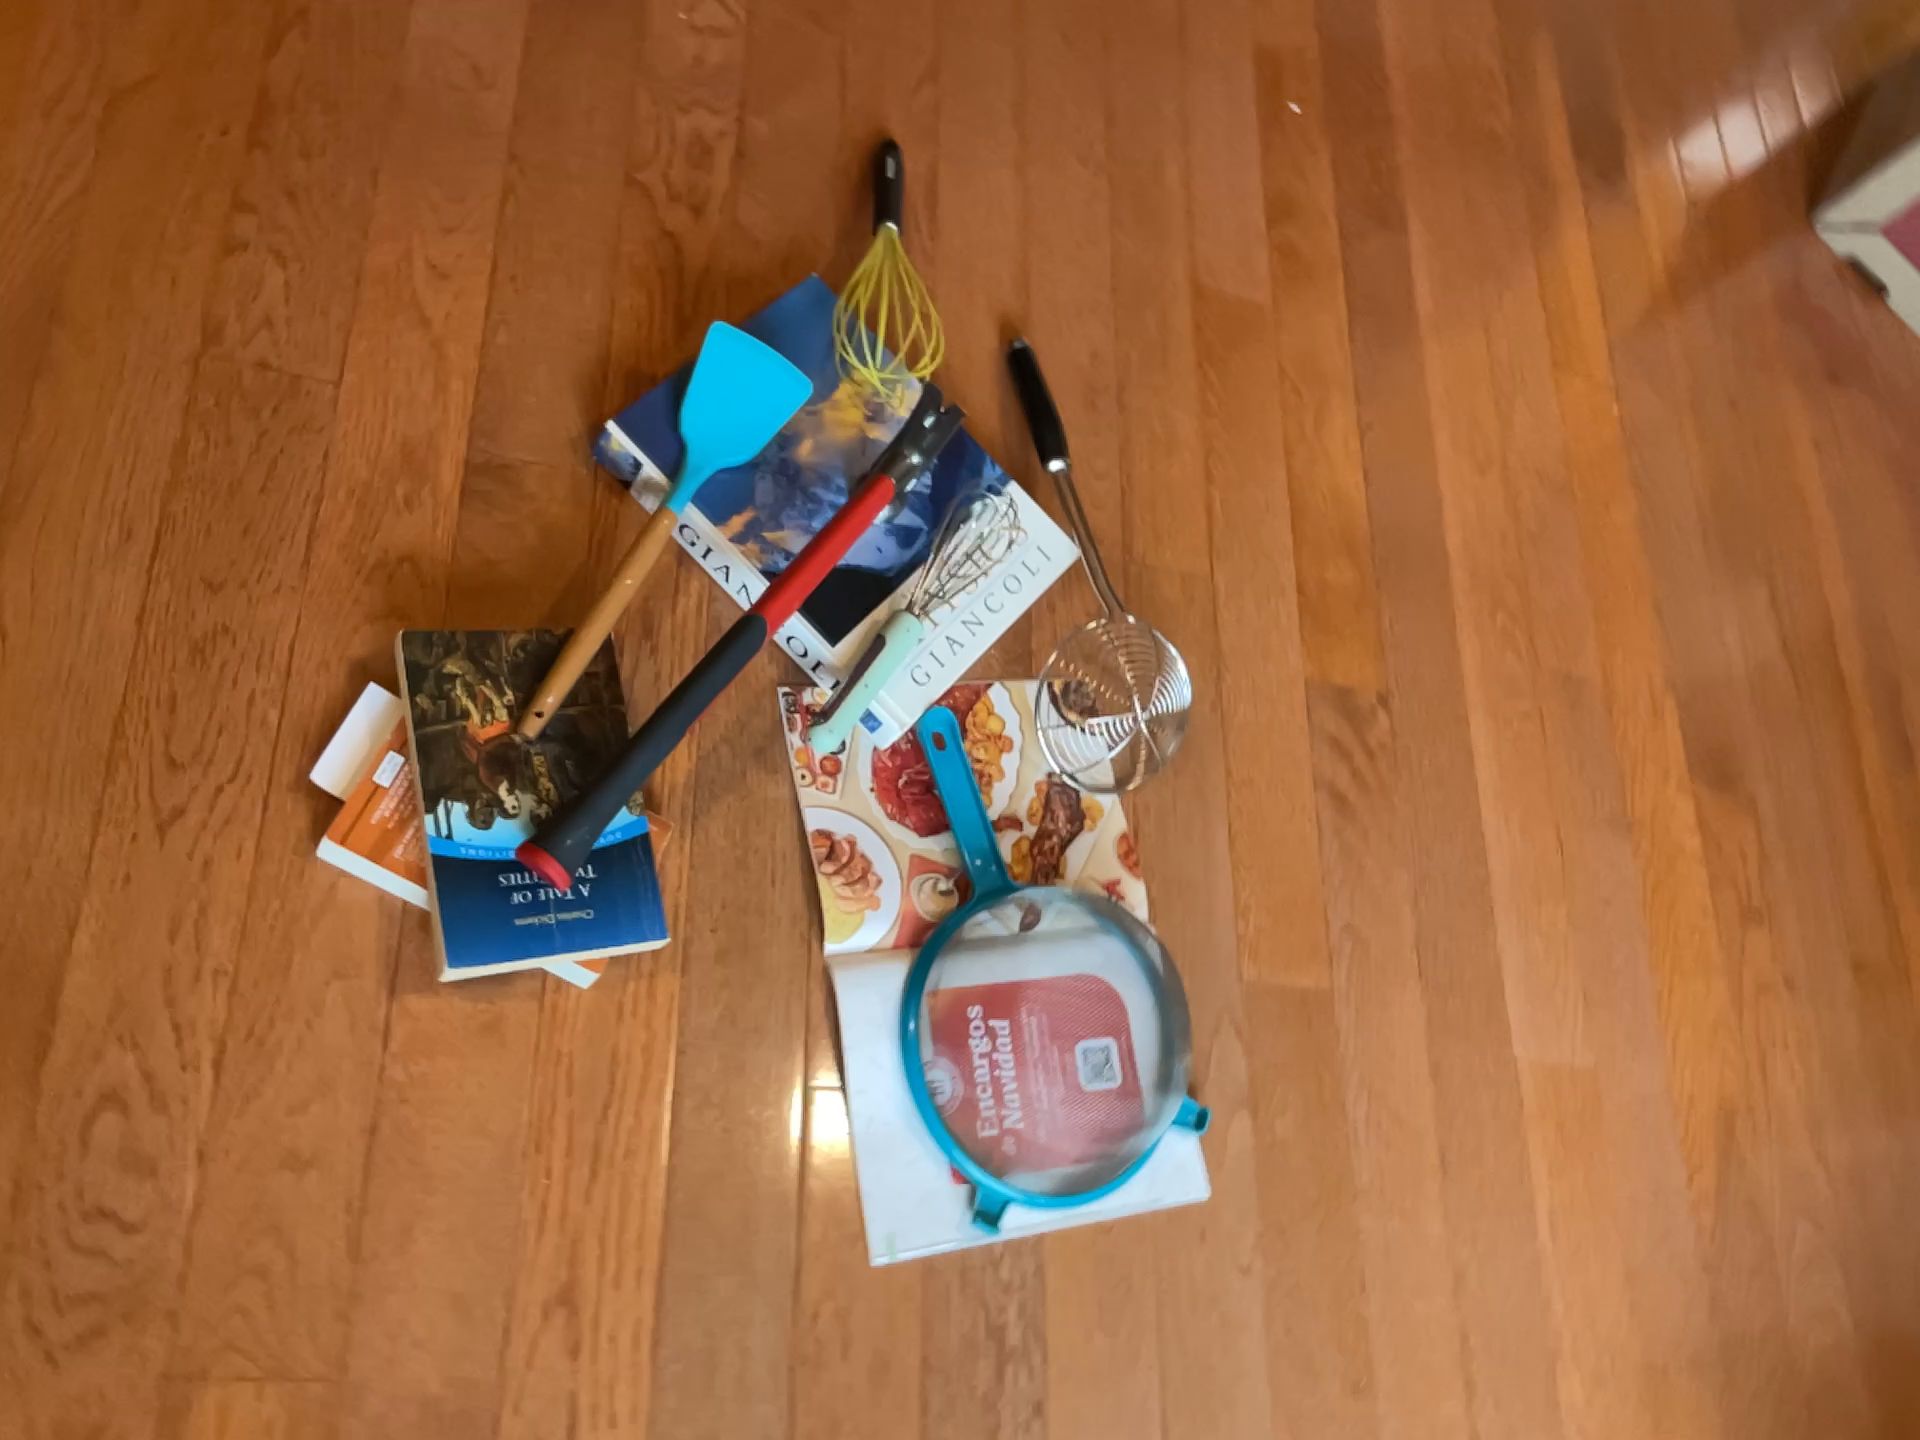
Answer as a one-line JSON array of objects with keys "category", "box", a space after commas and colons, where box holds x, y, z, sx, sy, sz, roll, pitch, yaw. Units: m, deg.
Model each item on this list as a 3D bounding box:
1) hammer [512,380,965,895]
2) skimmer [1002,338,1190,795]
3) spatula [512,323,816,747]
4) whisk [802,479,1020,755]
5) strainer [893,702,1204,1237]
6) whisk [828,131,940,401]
[{"category": "hammer", "box": [-0.127, -0.053, 0.961, 0.038, 0.143, 0.387, 39, 60, -4]}, {"category": "skimmer", "box": [0.078, -0.123, 1.194, 0.127, 0.090, 0.364, -3, 60, -25]}, {"category": "spatula", "box": [-0.194, -0.114, 0.999, 0.082, 0.044, 0.318, 33, 59, -13]}, {"category": "whisk", "box": [-0.032, -0.071, 1.068, 0.247, 0.057, 0.059, -55, 129, -28]}, {"category": "strainer", "box": [0.051, 0.142, 1.020, 0.211, 0.095, 0.340, -15, 84, -30]}, {"category": "whisk", "box": [-0.055, -0.345, 1.182, 0.080, 0.067, 0.312, 6, 51, -8]}]
